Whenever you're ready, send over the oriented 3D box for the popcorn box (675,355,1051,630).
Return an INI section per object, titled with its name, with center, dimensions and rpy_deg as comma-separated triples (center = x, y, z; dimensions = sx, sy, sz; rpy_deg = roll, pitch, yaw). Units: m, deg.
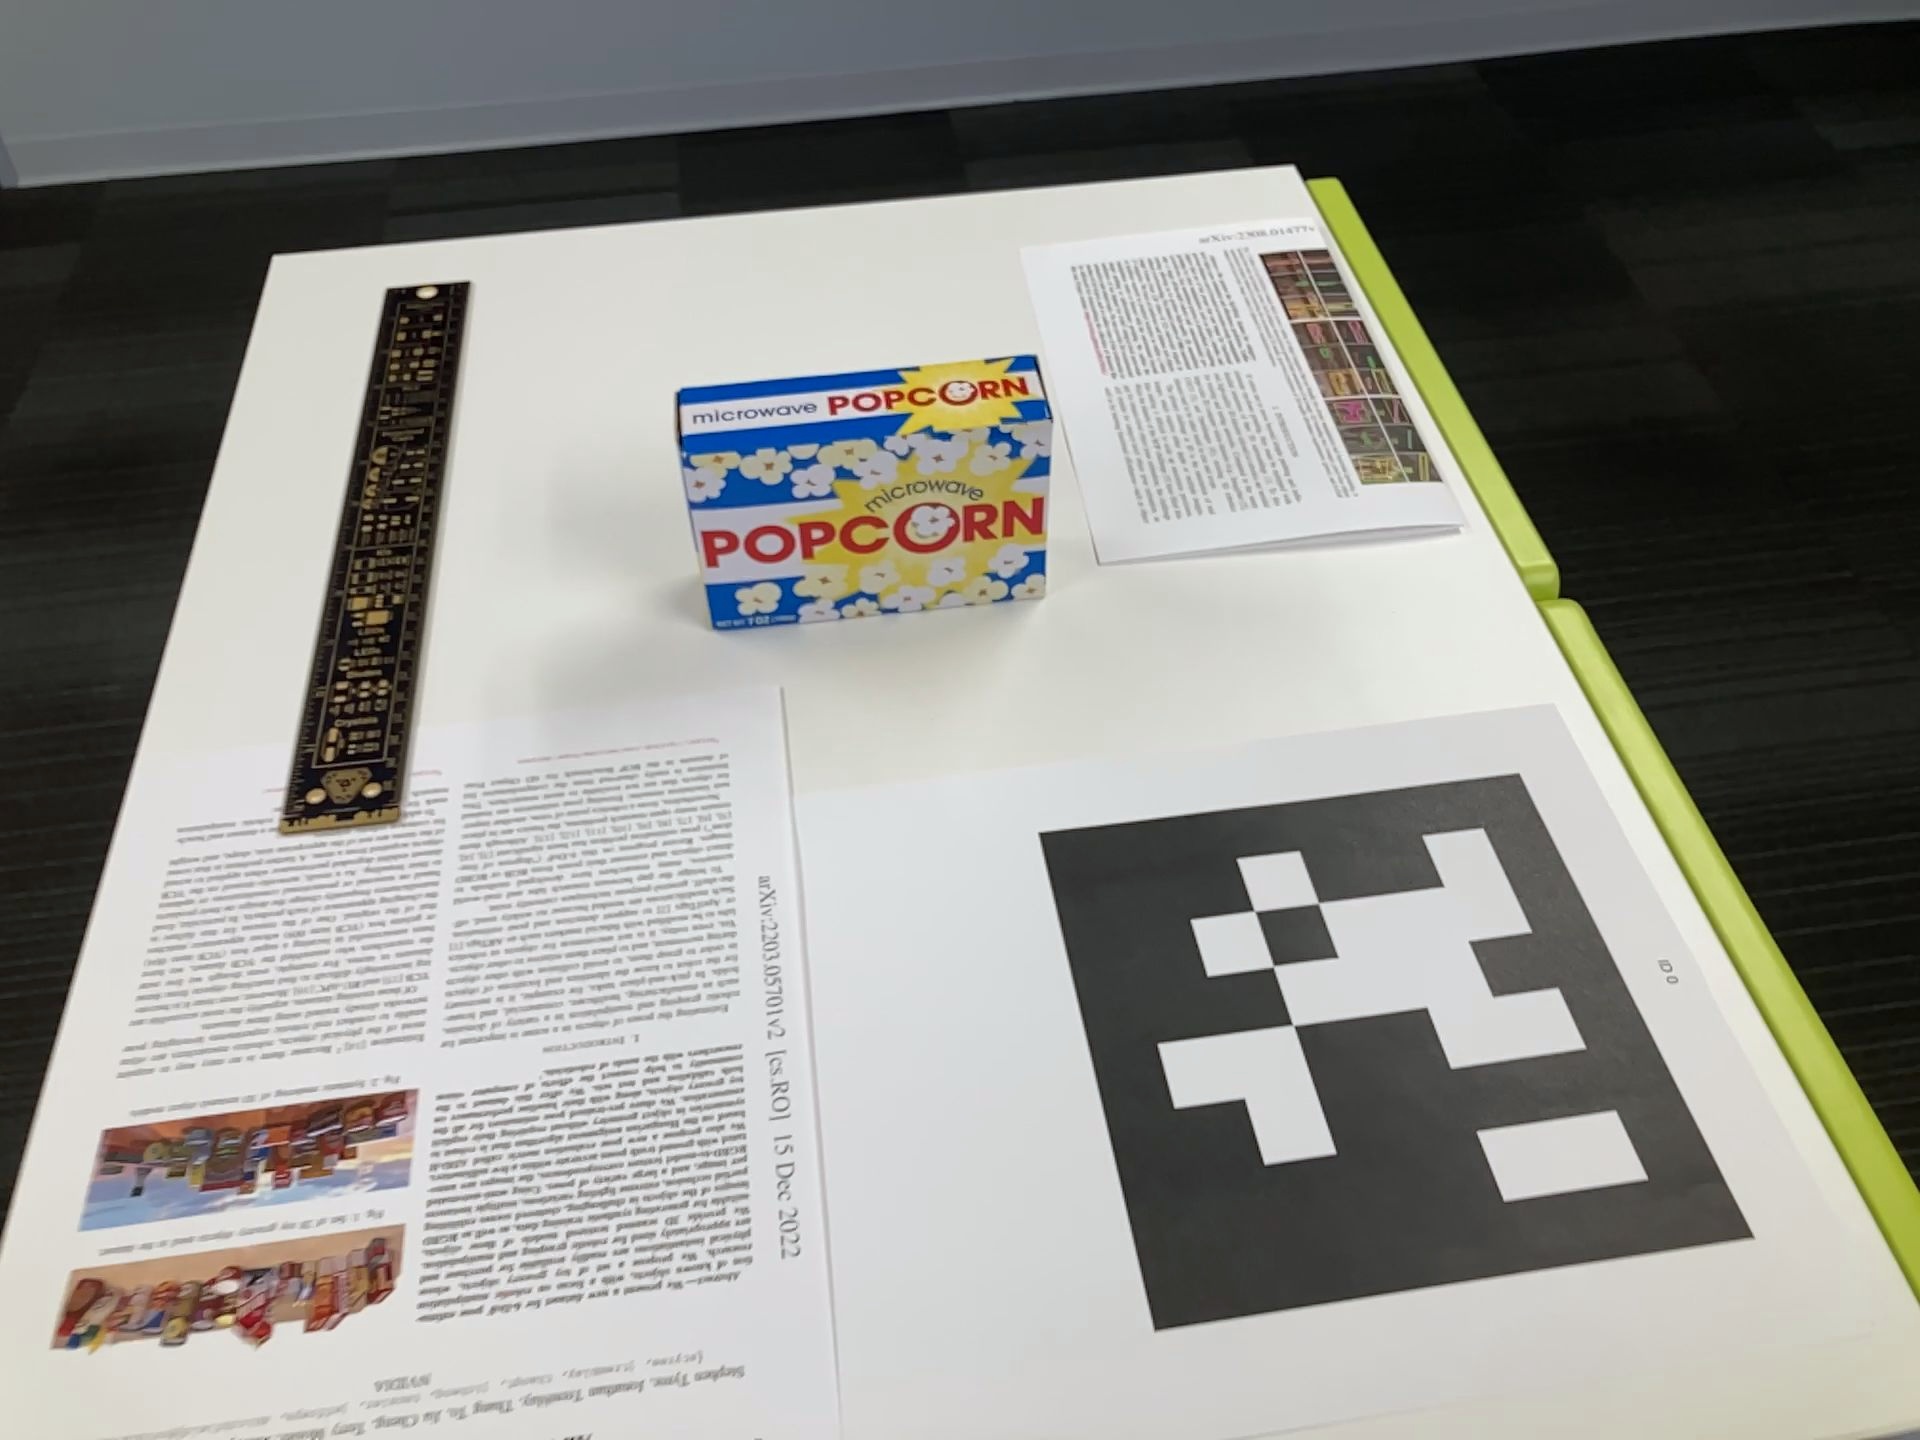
[popcorn box]
center = -0.033, -0.080, 0.566
dimensions = 0.126, 0.085, 0.038
rpy_deg = -6, 48, -5
